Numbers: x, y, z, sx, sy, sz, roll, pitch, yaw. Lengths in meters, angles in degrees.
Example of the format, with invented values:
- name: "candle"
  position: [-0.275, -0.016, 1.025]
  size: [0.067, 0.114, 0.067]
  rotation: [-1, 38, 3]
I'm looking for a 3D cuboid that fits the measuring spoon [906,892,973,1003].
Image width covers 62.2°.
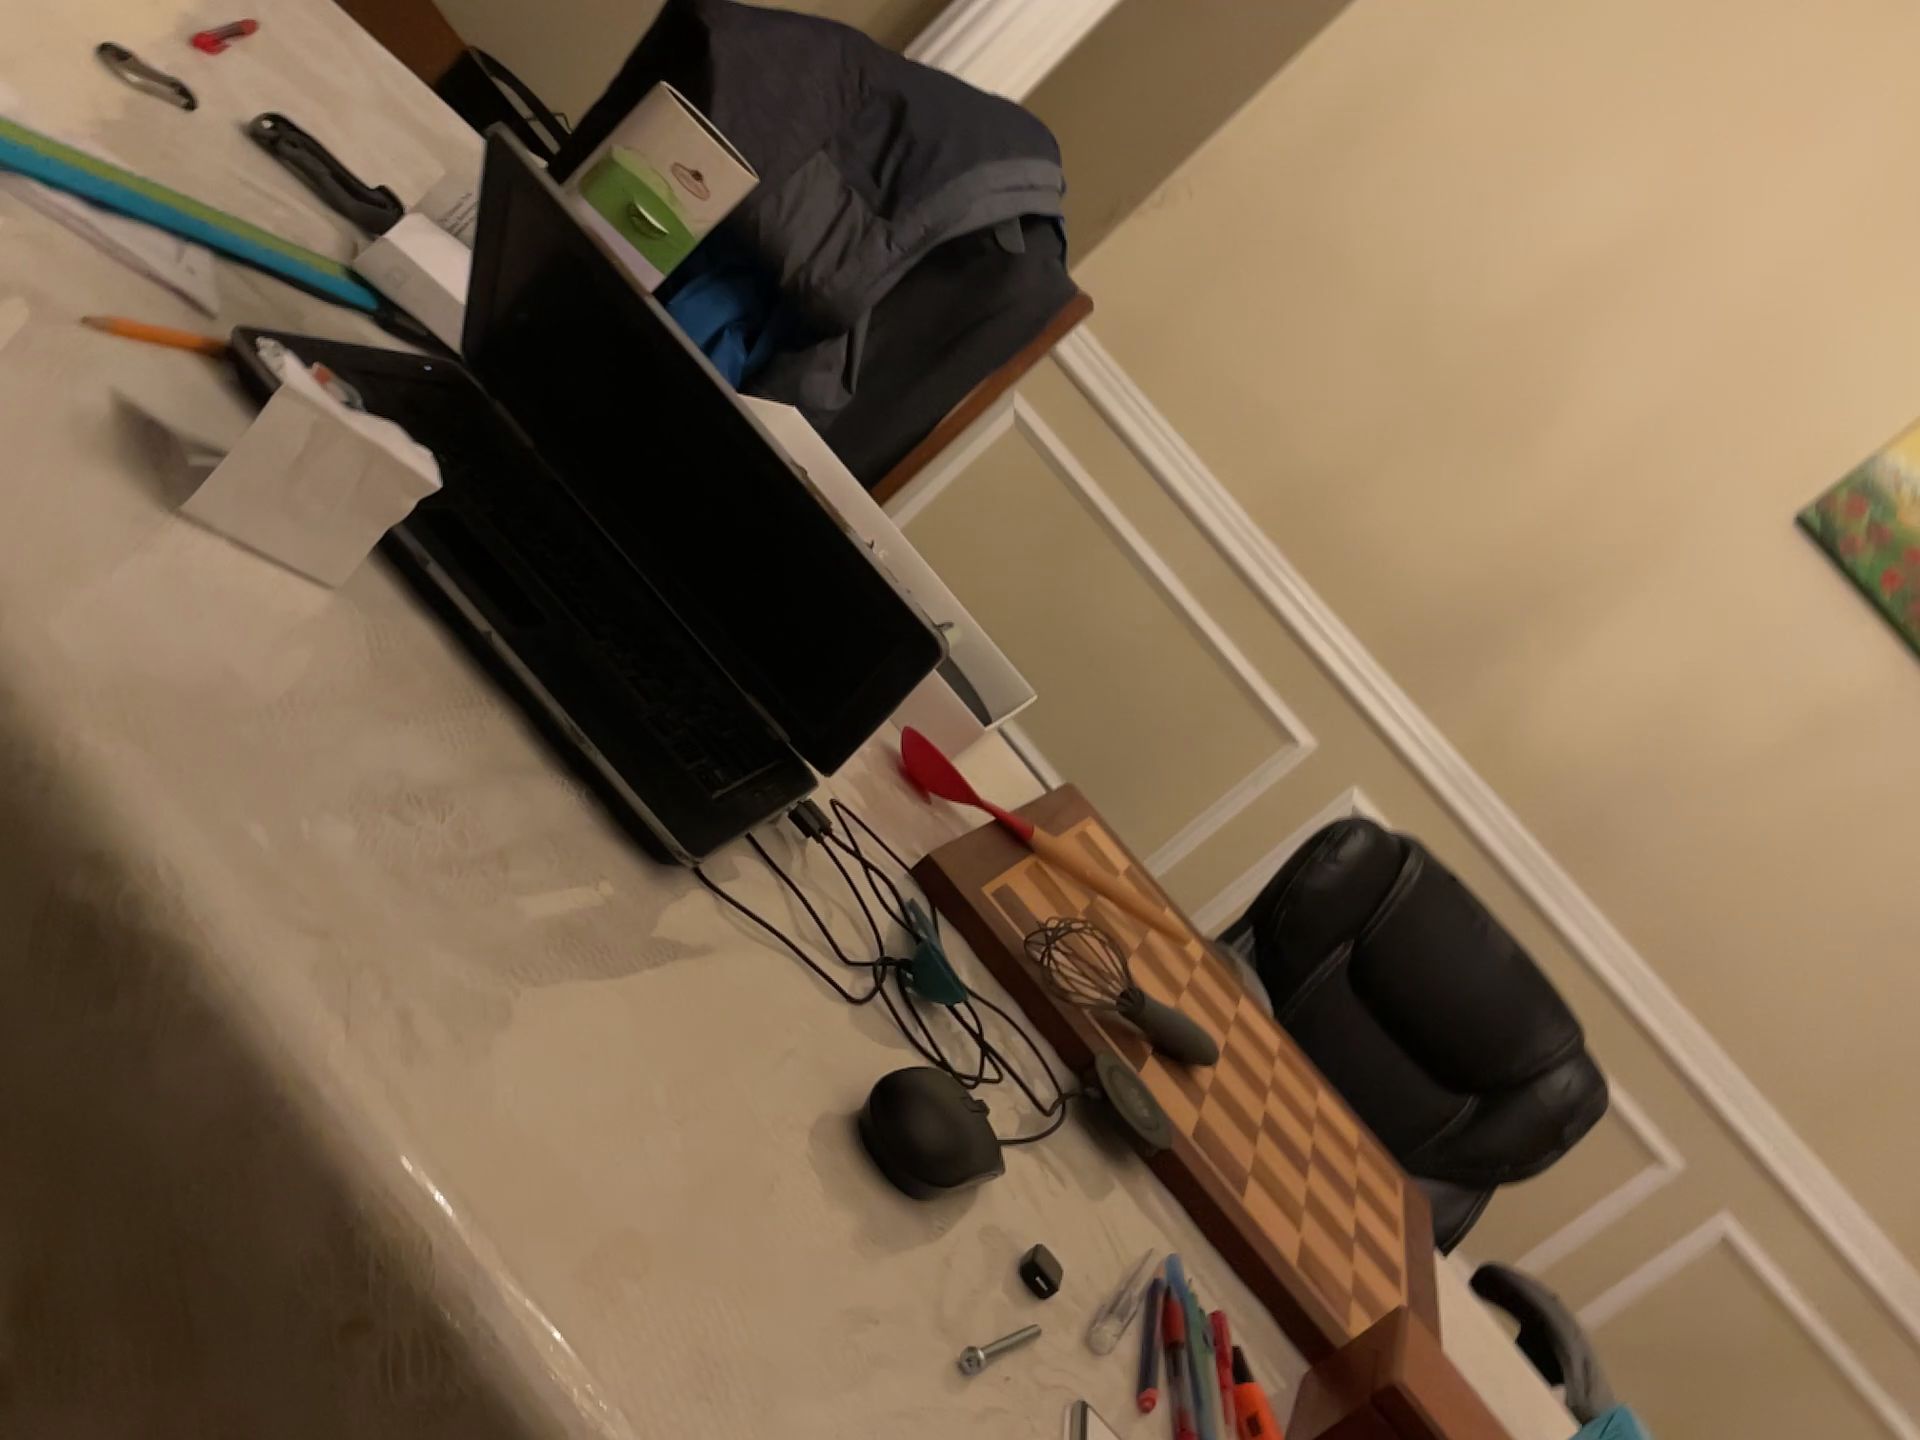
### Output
- name: "measuring spoon"
  position: [-0.022, 0.131, 0.925]
  size: [0.042, 0.021, 0.129]
  rotation: [52, -1, -19]

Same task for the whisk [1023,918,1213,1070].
- name: "whisk"
  position: [0.113, 0.191, 1.068]
  size: [0.238, 0.055, 0.055]
  rotation: [42, 28, -44]

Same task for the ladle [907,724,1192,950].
- name: "ladle"
  position: [0.073, 0.099, 1.221]
  size: [0.315, 0.031, 0.069]
  rotation: [36, -5, -27]

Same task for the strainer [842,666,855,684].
- name: "strainer"
  position: [-0.152, -0.102, 0.969]
  size: [0.341, 0.095, 0.210]
  rotation: [54, 0, 43]

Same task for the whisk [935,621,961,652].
- name: "whisk"
  position: [-0.053, -0.037, 1.142]
  size: [0.246, 0.058, 0.059]
  rotation: [-35, 113, -63]
